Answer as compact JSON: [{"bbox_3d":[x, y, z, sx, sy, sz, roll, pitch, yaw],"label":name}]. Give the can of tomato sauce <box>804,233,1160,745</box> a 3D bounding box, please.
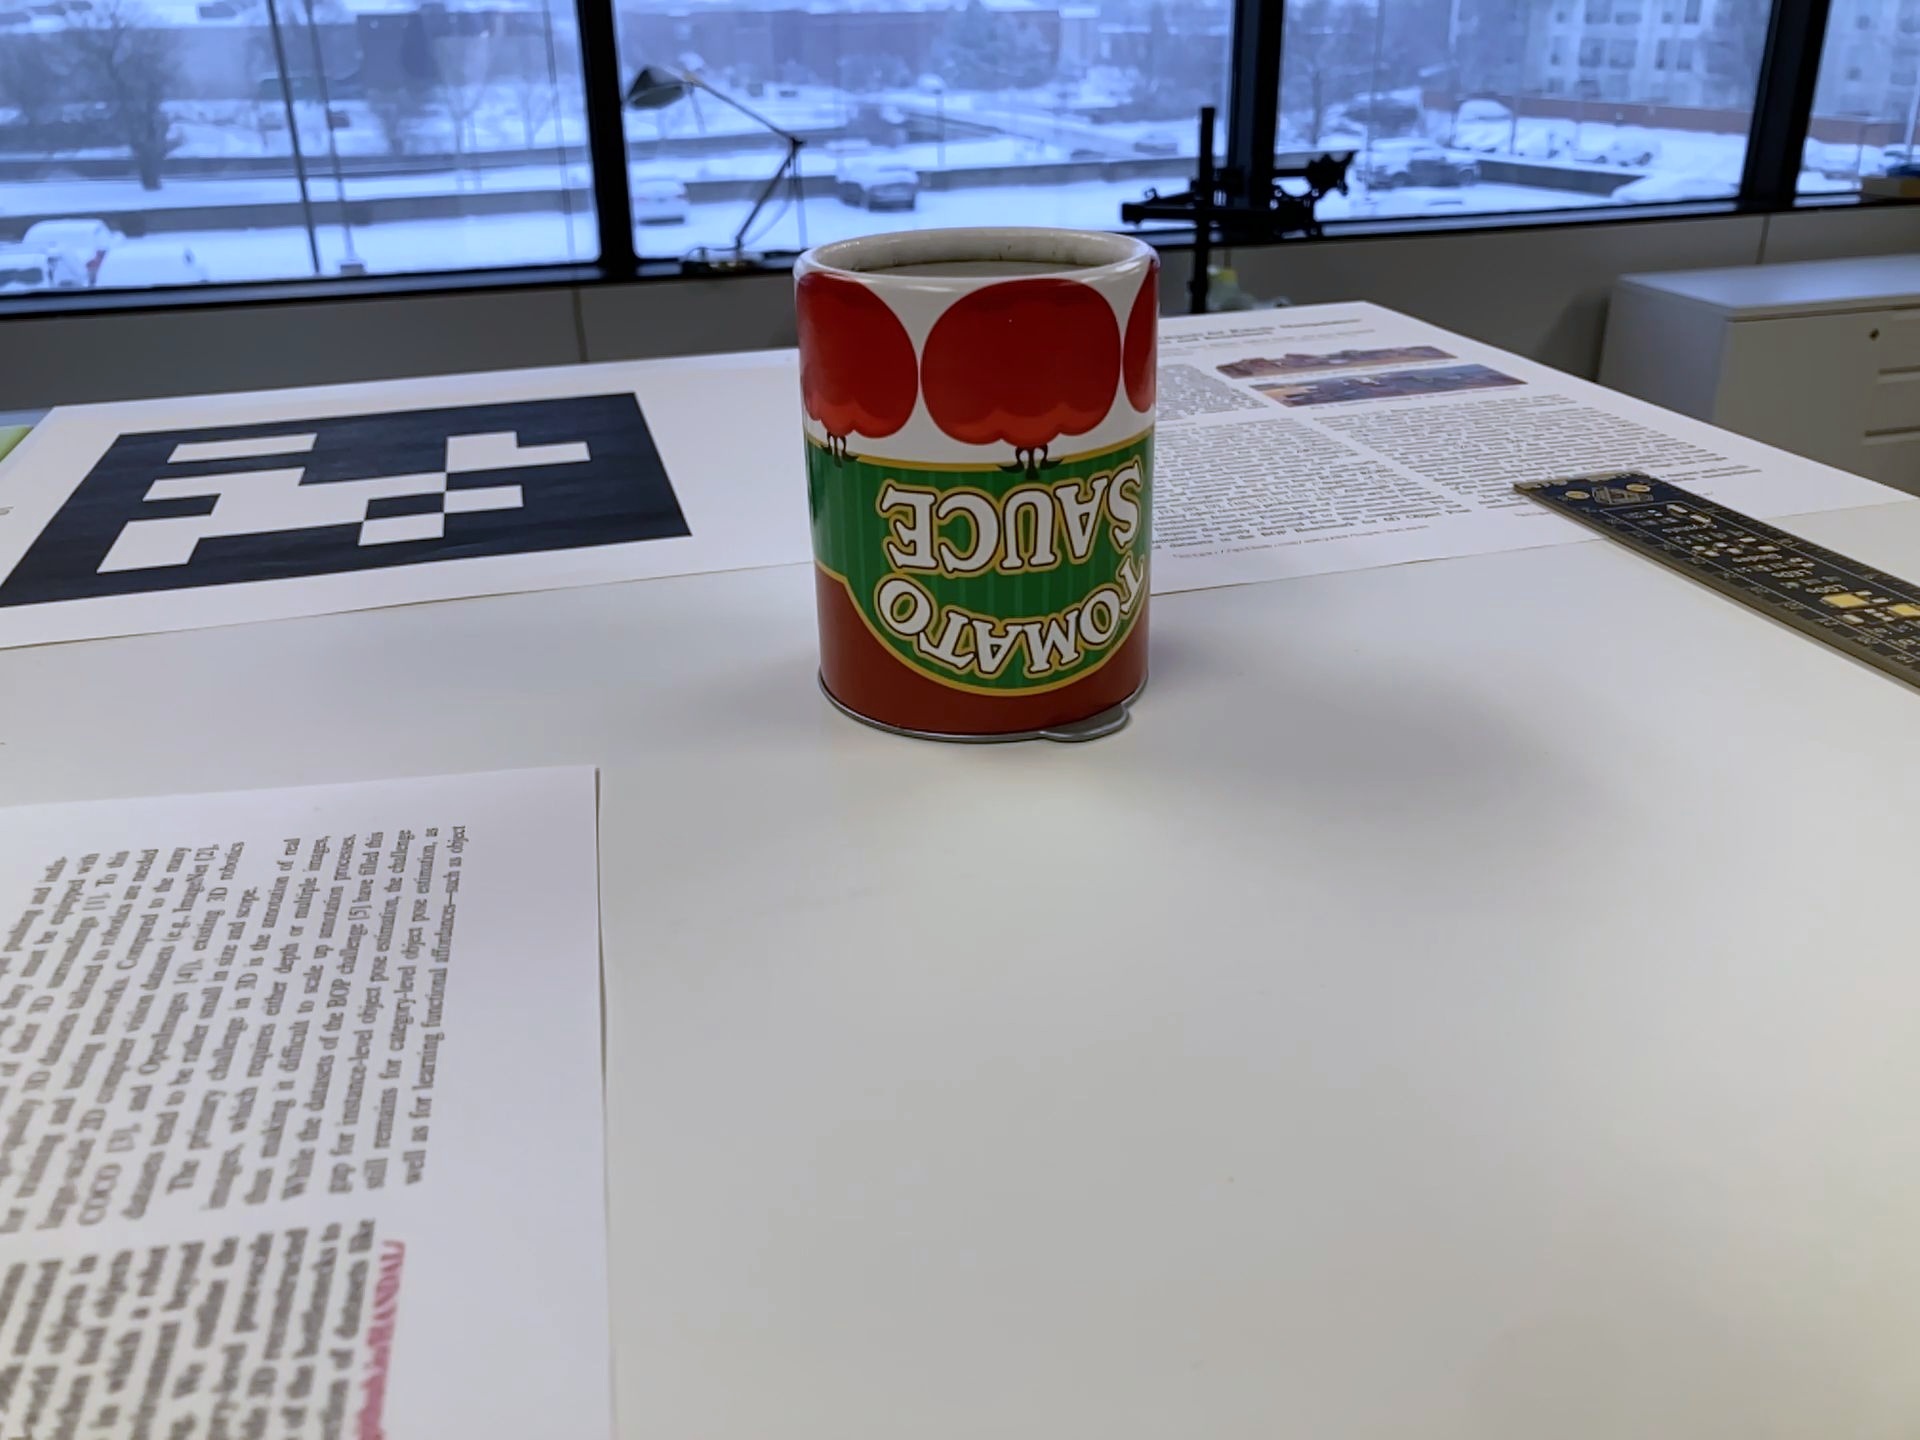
[{"bbox_3d":[0.004,-0.046,0.304,0.071,0.083,0.071,1,24,0],"label":"can of tomato sauce"}]
